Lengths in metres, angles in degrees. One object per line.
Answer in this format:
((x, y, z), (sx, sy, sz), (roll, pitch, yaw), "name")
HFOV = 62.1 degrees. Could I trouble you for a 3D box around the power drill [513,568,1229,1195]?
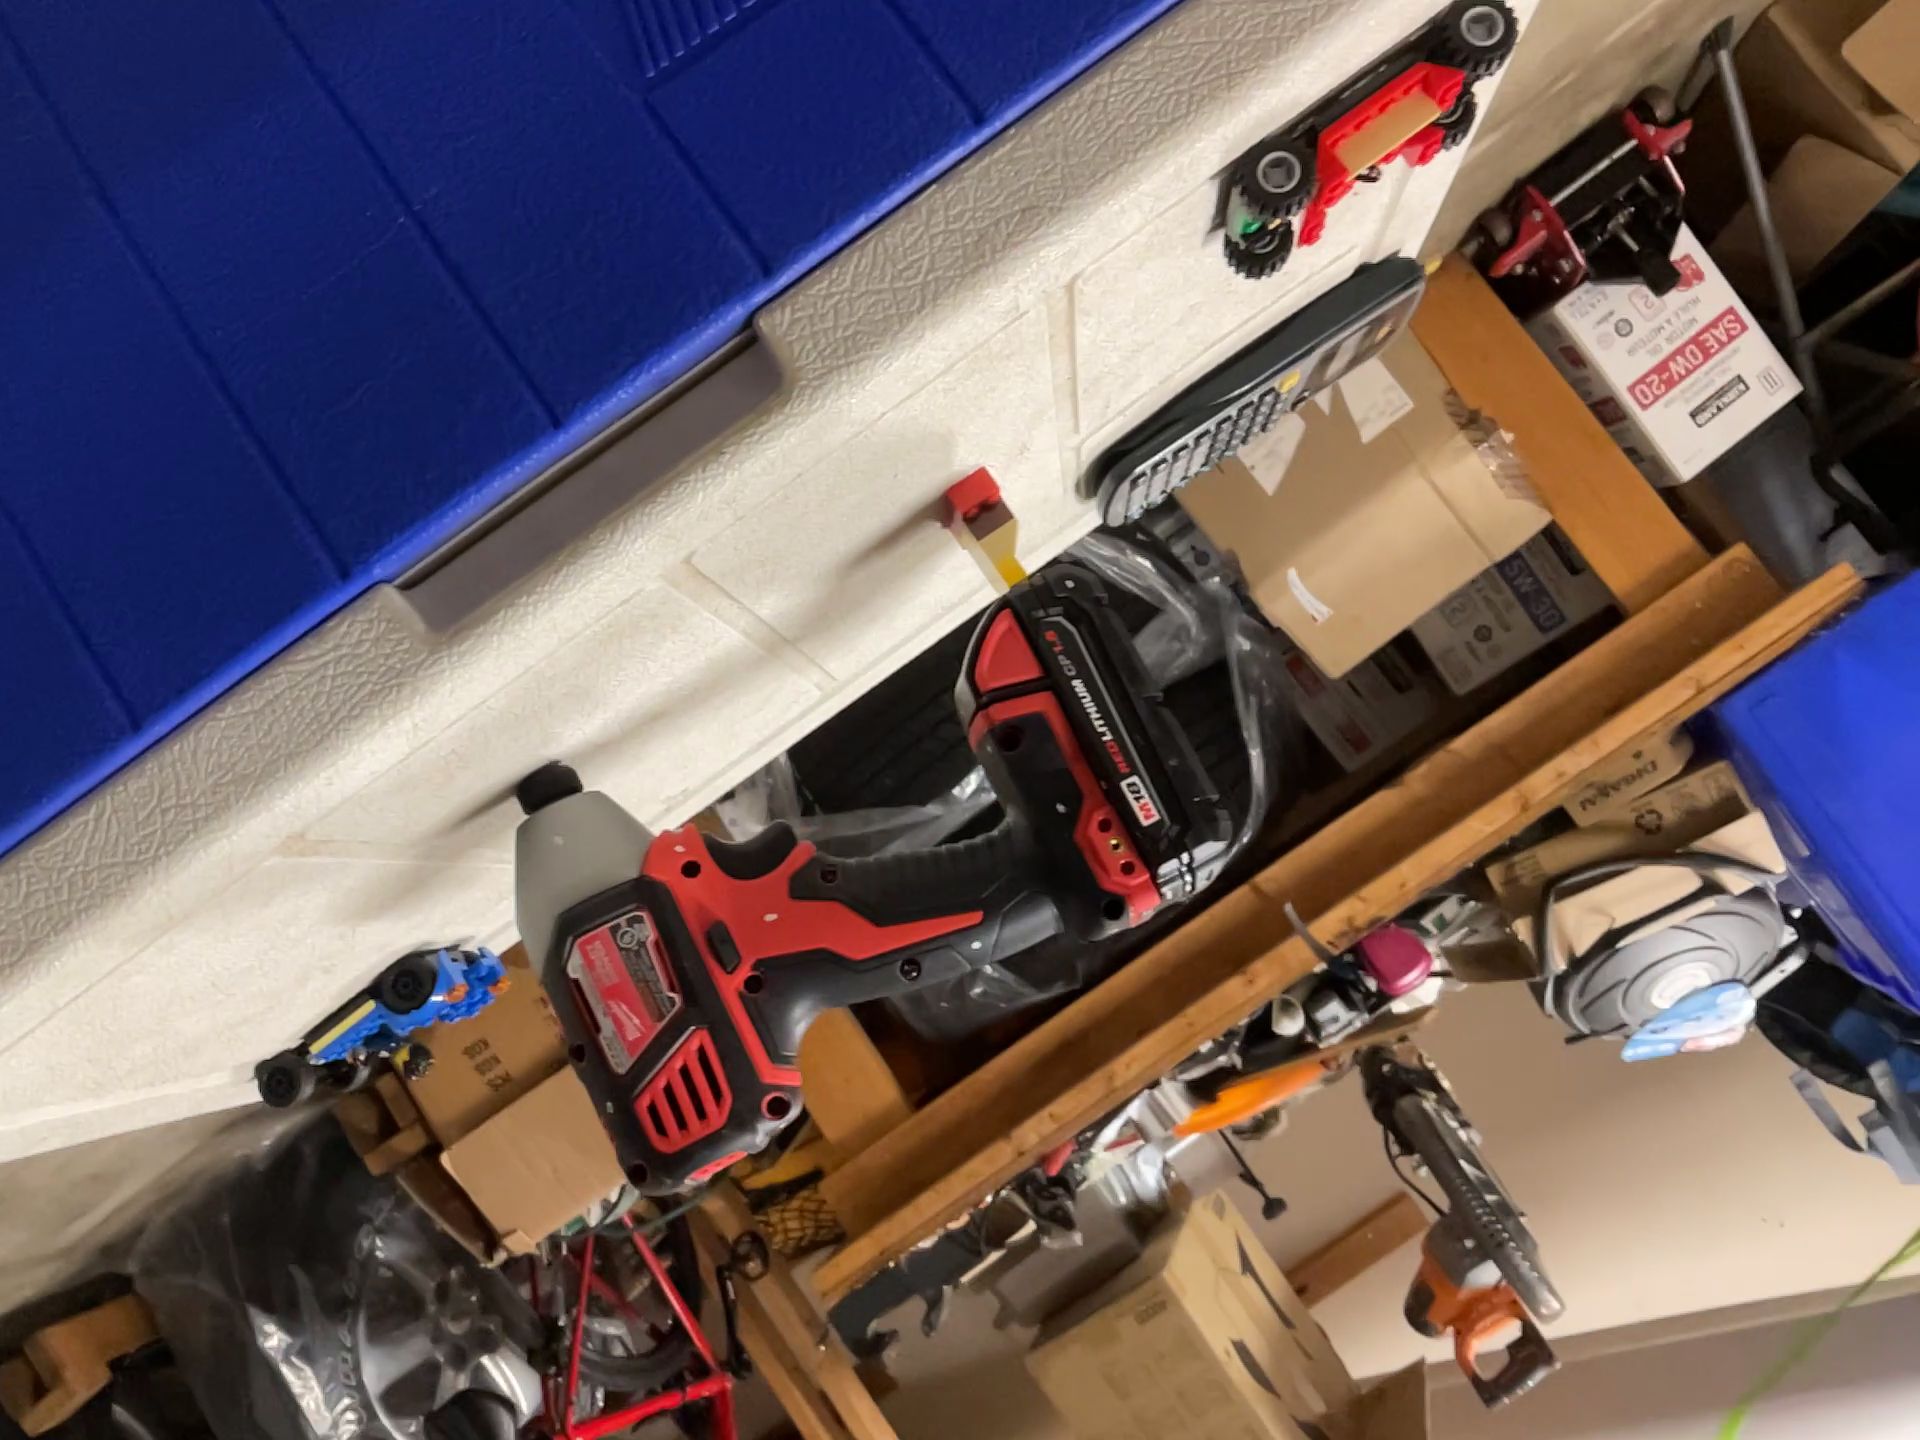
((-0.037, 0.044, 0.530), (0.219, 0.143, 0.078), (-27, 170, -8), "power drill")
